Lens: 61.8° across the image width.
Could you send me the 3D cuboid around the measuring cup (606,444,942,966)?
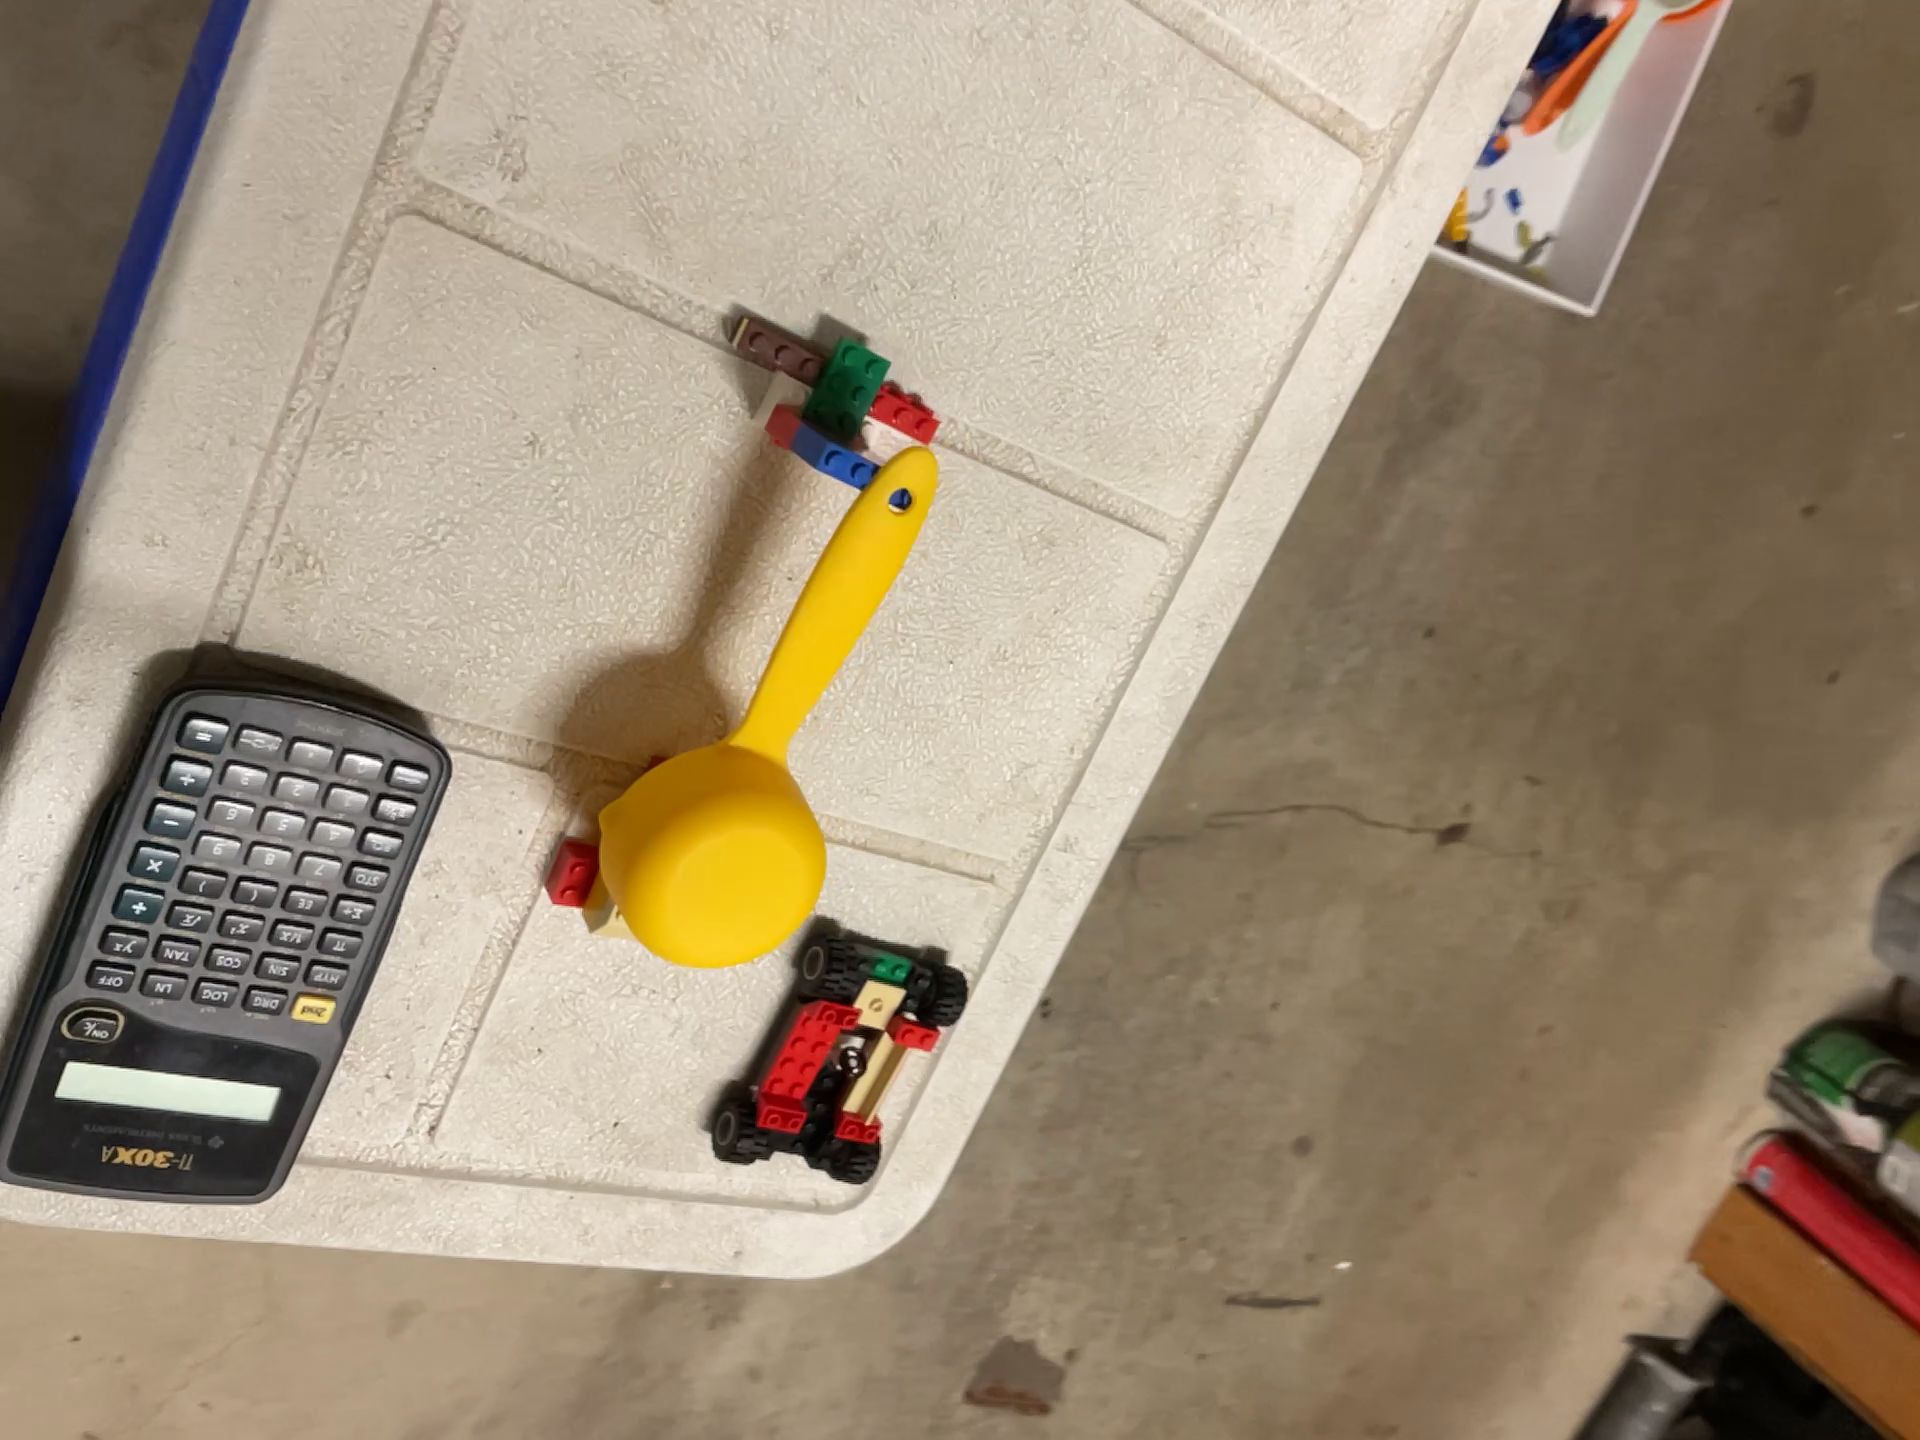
[{"bbox_3d":[-0.042,0.000,0.426,0.062,0.029,0.156,19,110,-34],"label":"measuring cup"}]
